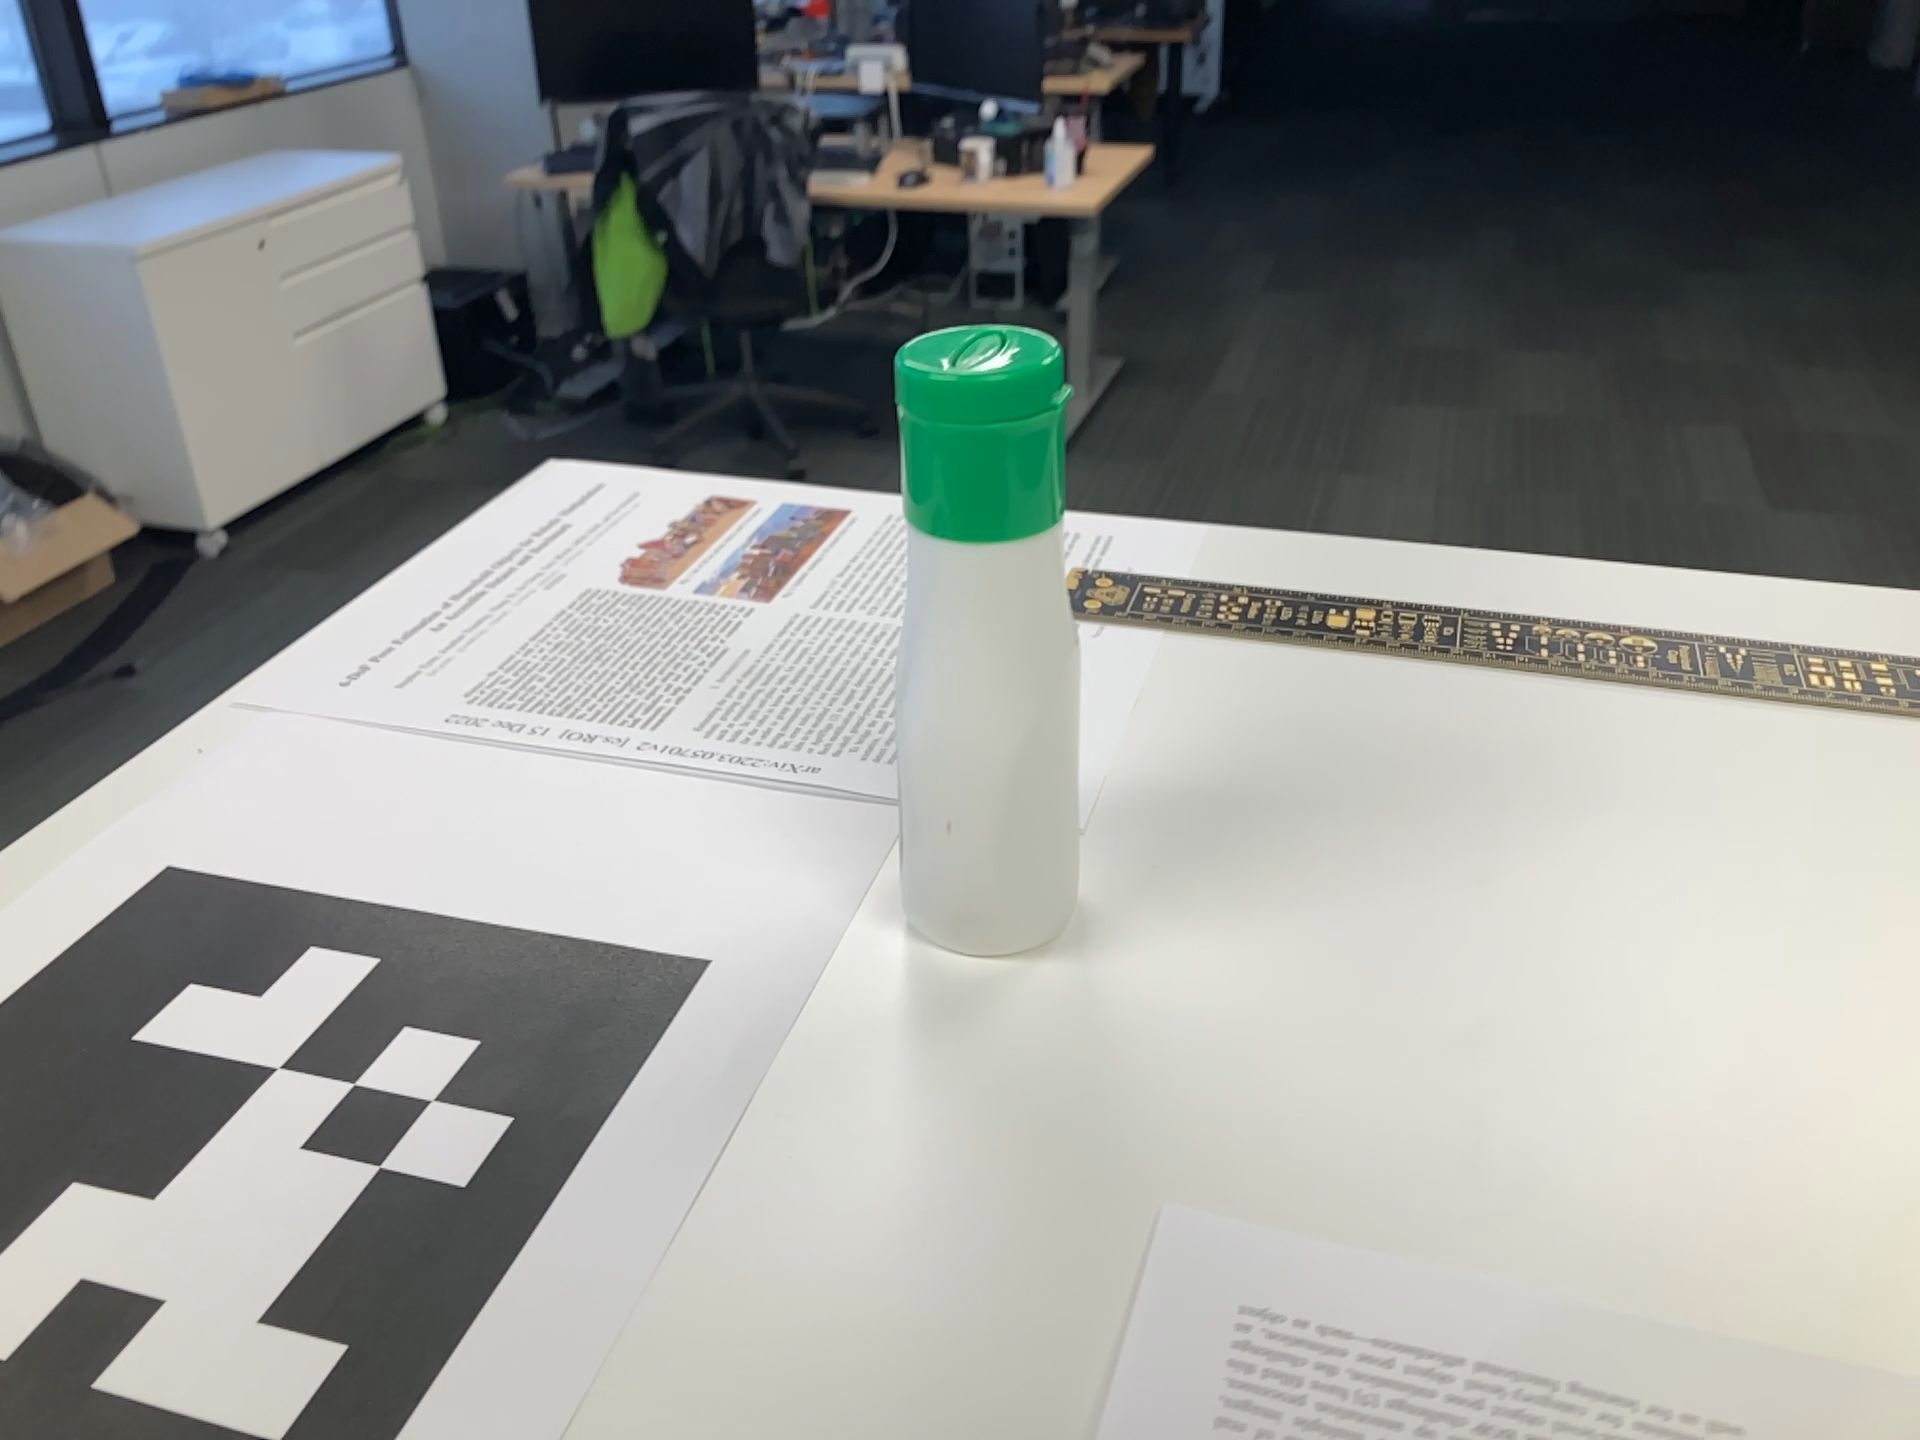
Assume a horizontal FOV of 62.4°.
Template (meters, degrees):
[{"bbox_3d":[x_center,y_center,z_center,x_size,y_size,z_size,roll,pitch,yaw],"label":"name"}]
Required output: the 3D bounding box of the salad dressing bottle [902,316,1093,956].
[{"bbox_3d":[0.008,-0.016,0.368,0.044,0.147,0.064,8,30,15],"label":"salad dressing bottle"}]
